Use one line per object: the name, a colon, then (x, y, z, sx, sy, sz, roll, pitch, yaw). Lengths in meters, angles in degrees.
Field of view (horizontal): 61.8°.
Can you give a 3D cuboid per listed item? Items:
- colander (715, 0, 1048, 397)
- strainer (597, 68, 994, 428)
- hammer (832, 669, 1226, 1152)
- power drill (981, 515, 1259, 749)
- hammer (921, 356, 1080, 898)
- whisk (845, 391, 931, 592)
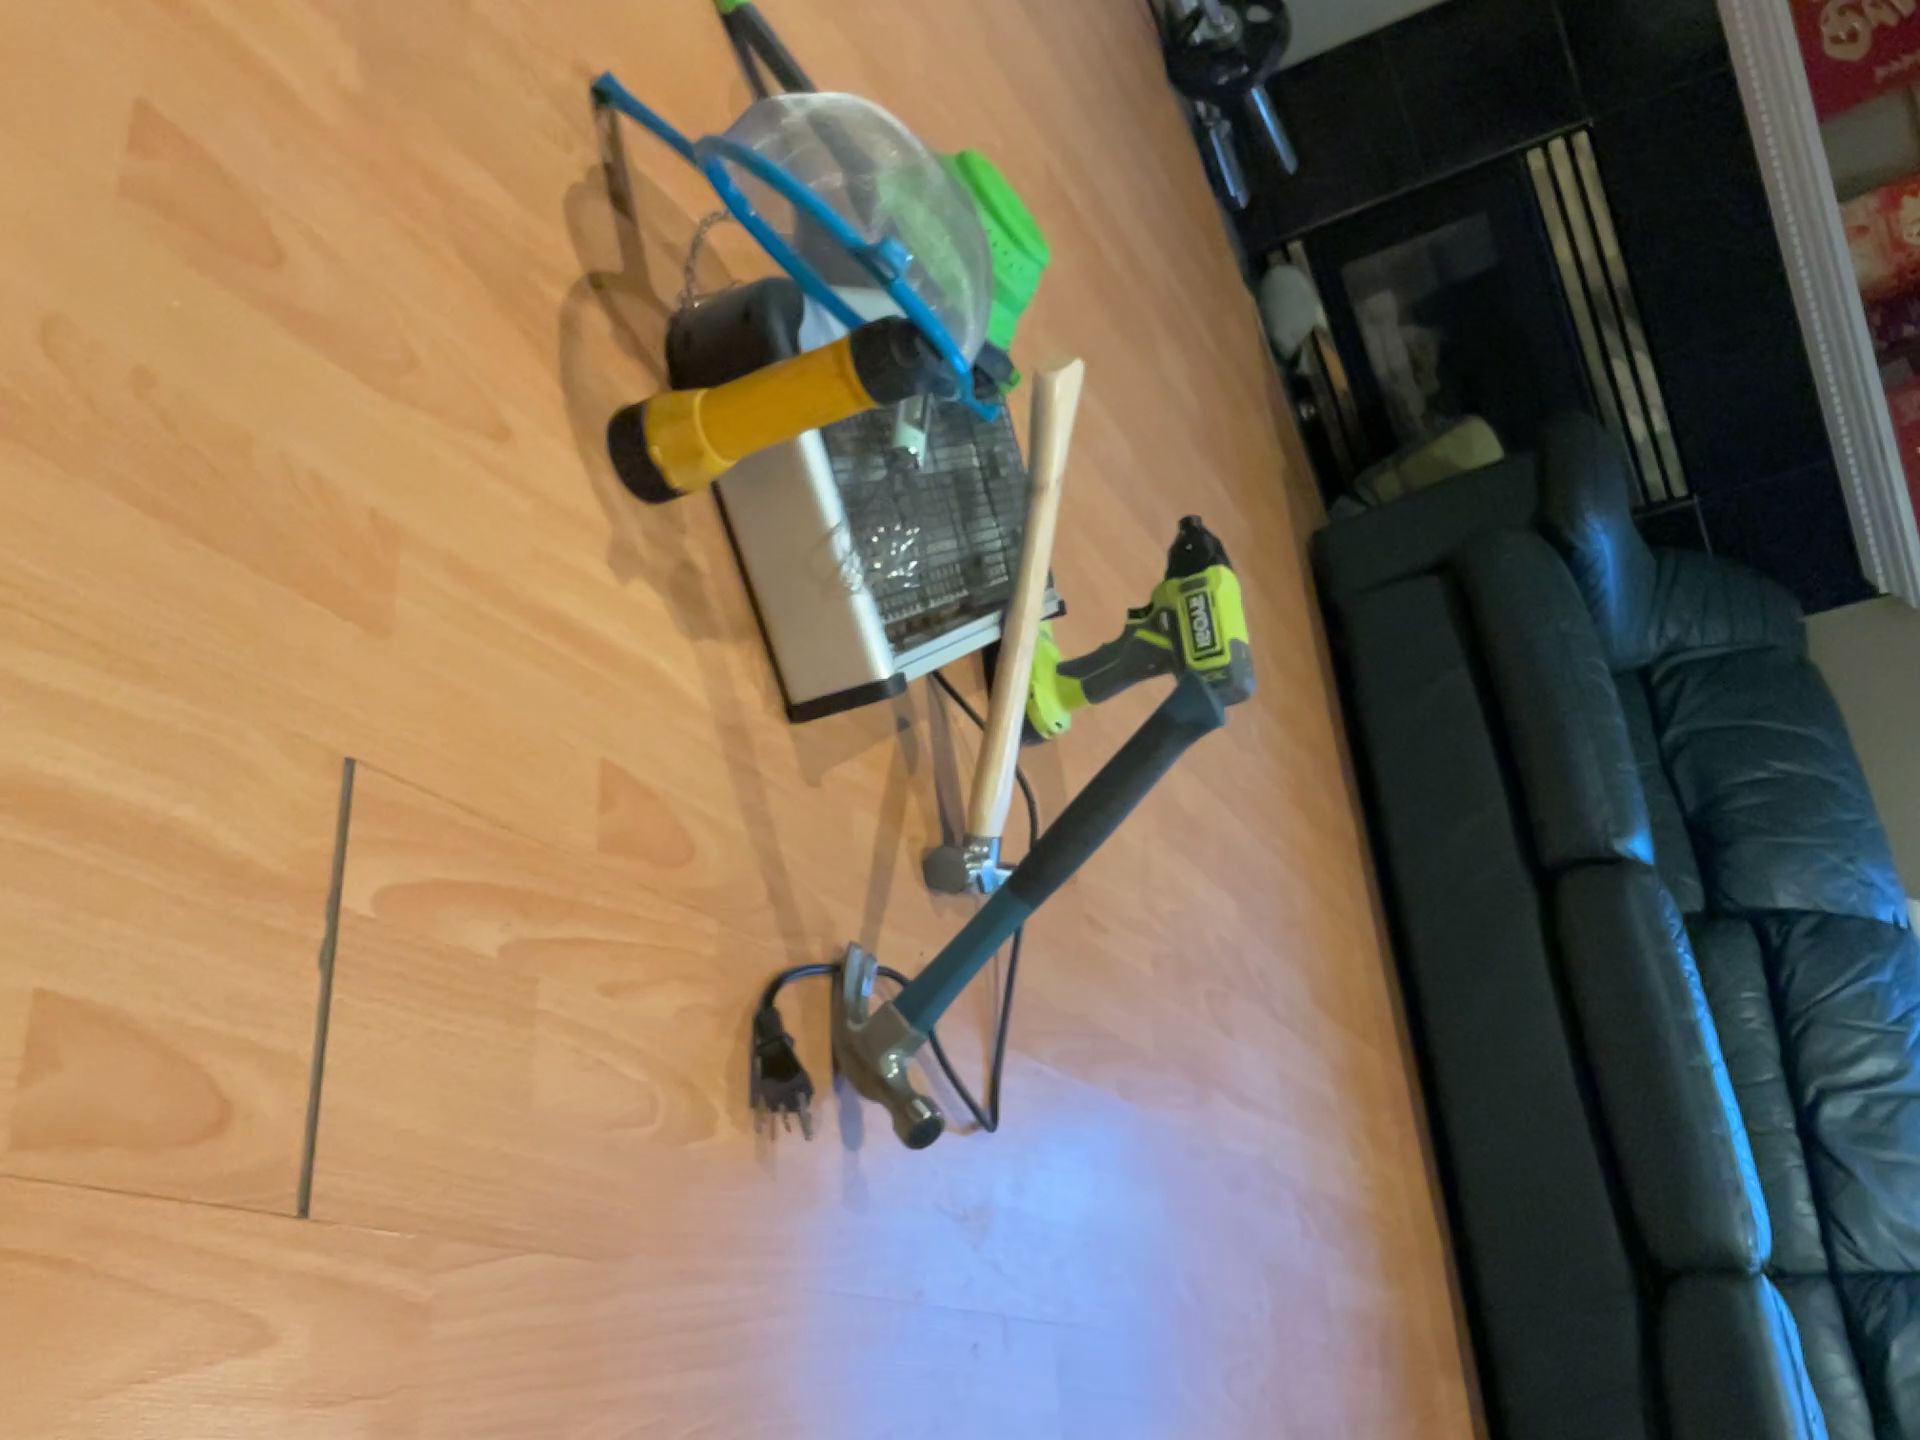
colander: (-0.045, -0.444, 1.270, 0.397, 0.094, 0.205, 52, 19, -7)
strainer: (-0.092, -0.333, 0.977, 0.340, 0.095, 0.211, 44, 0, 23)
hammer: (0.046, 0.102, 0.991, 0.128, 0.331, 0.033, 40, -3, 41)
power drill: (0.135, -0.073, 1.381, 0.080, 0.223, 0.171, 34, 45, -58)
hammer: (0.048, -0.069, 1.225, 0.146, 0.038, 0.410, 8, 92, -64)
whisk: (-0.039, -0.168, 1.071, 0.058, 0.059, 0.246, 28, 39, -20)
